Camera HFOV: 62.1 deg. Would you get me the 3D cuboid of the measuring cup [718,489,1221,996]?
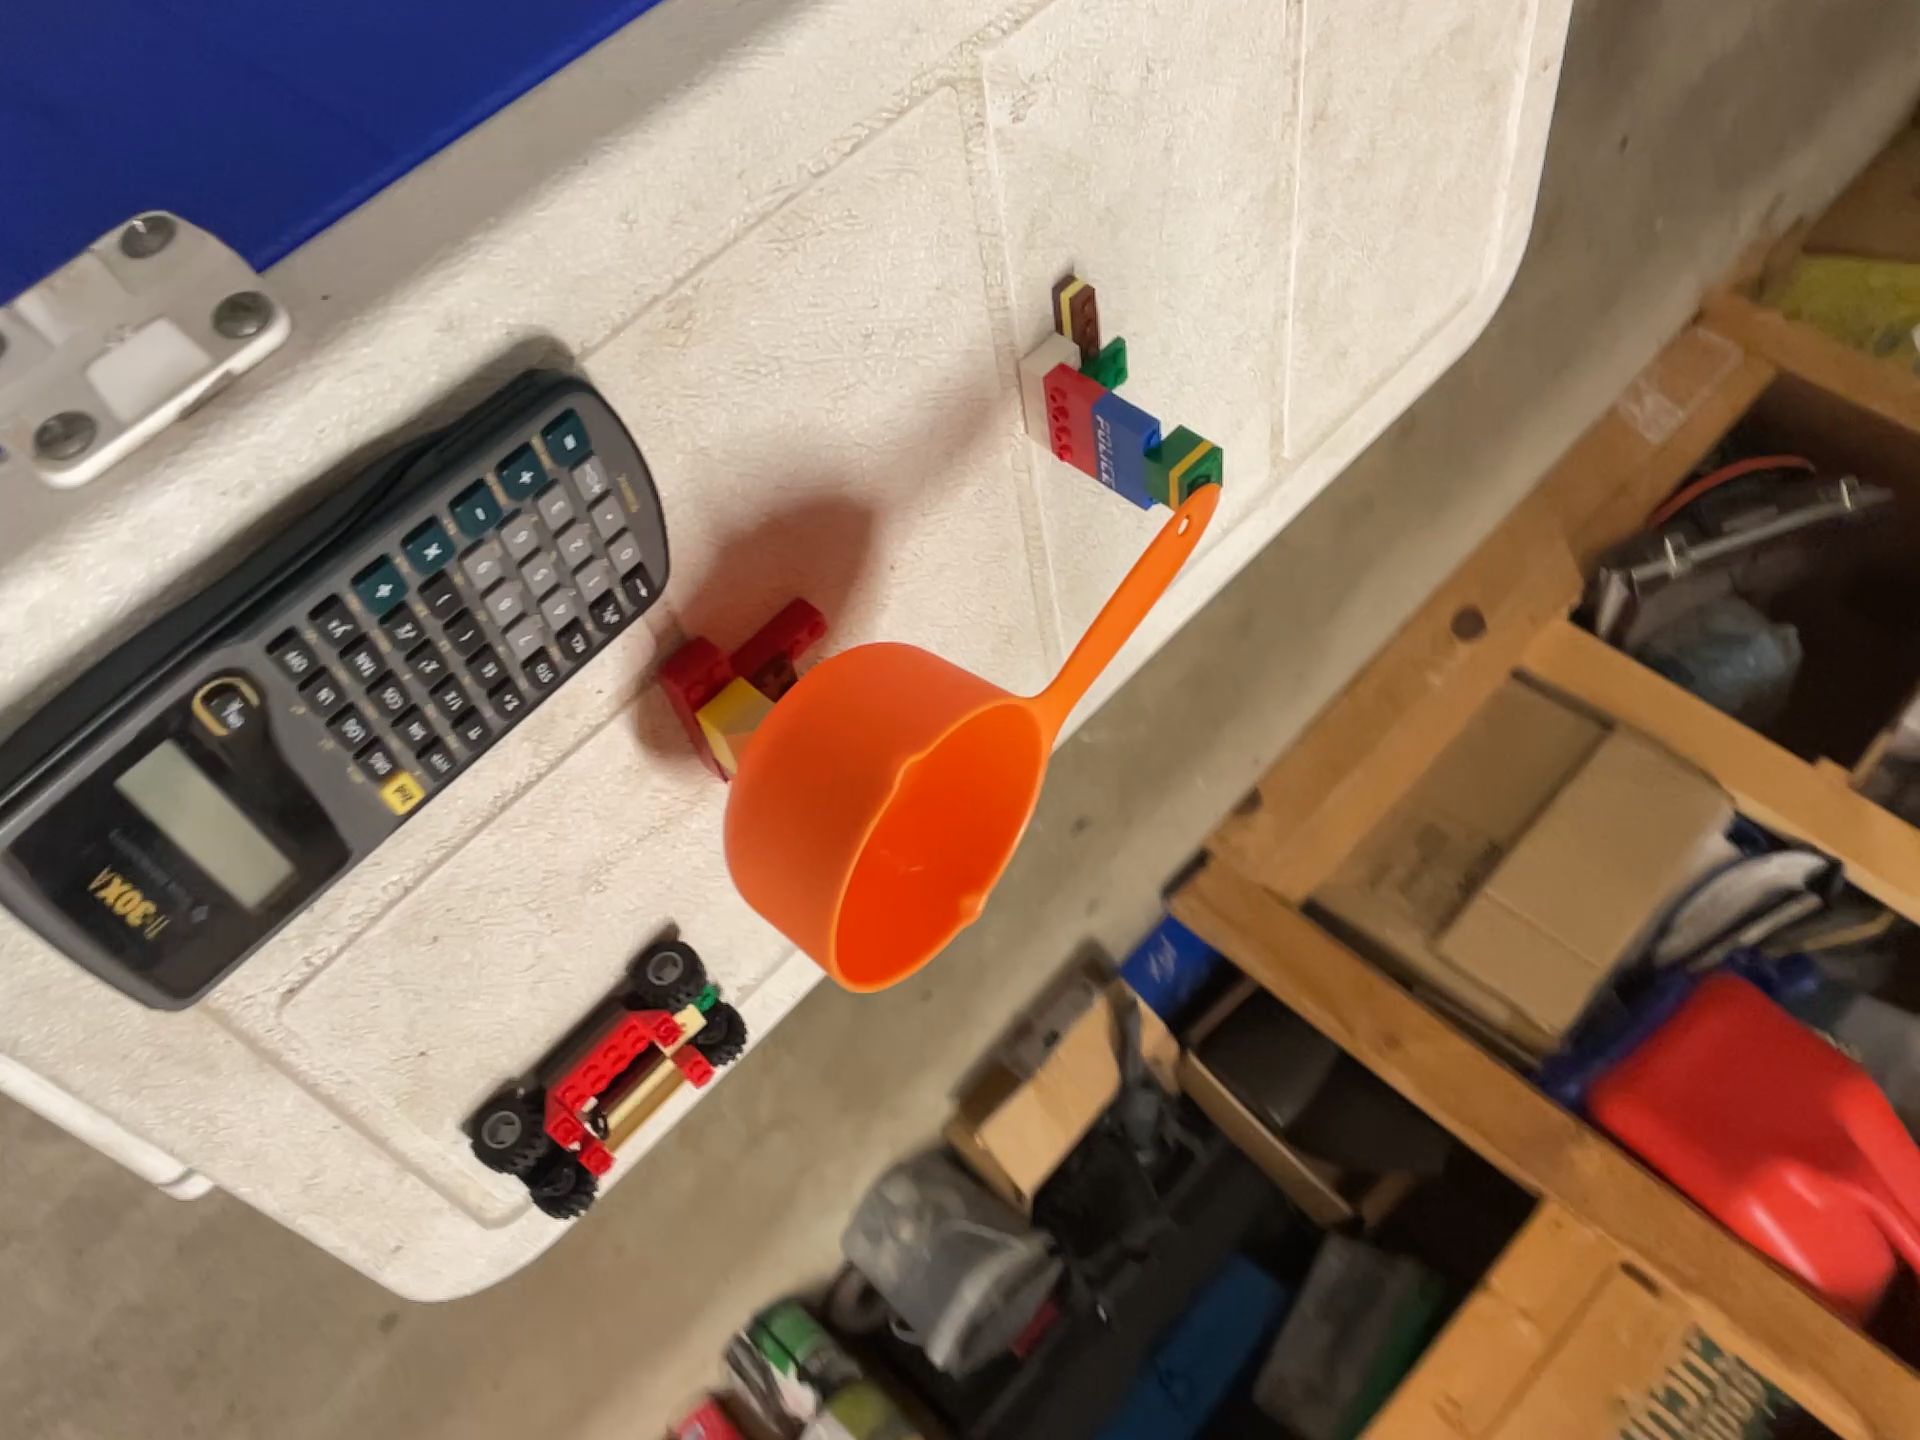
[{"bbox_3d":[0.003,-0.009,0.433,0.174,0.052,0.095,-51,153,-17],"label":"measuring cup"}]
